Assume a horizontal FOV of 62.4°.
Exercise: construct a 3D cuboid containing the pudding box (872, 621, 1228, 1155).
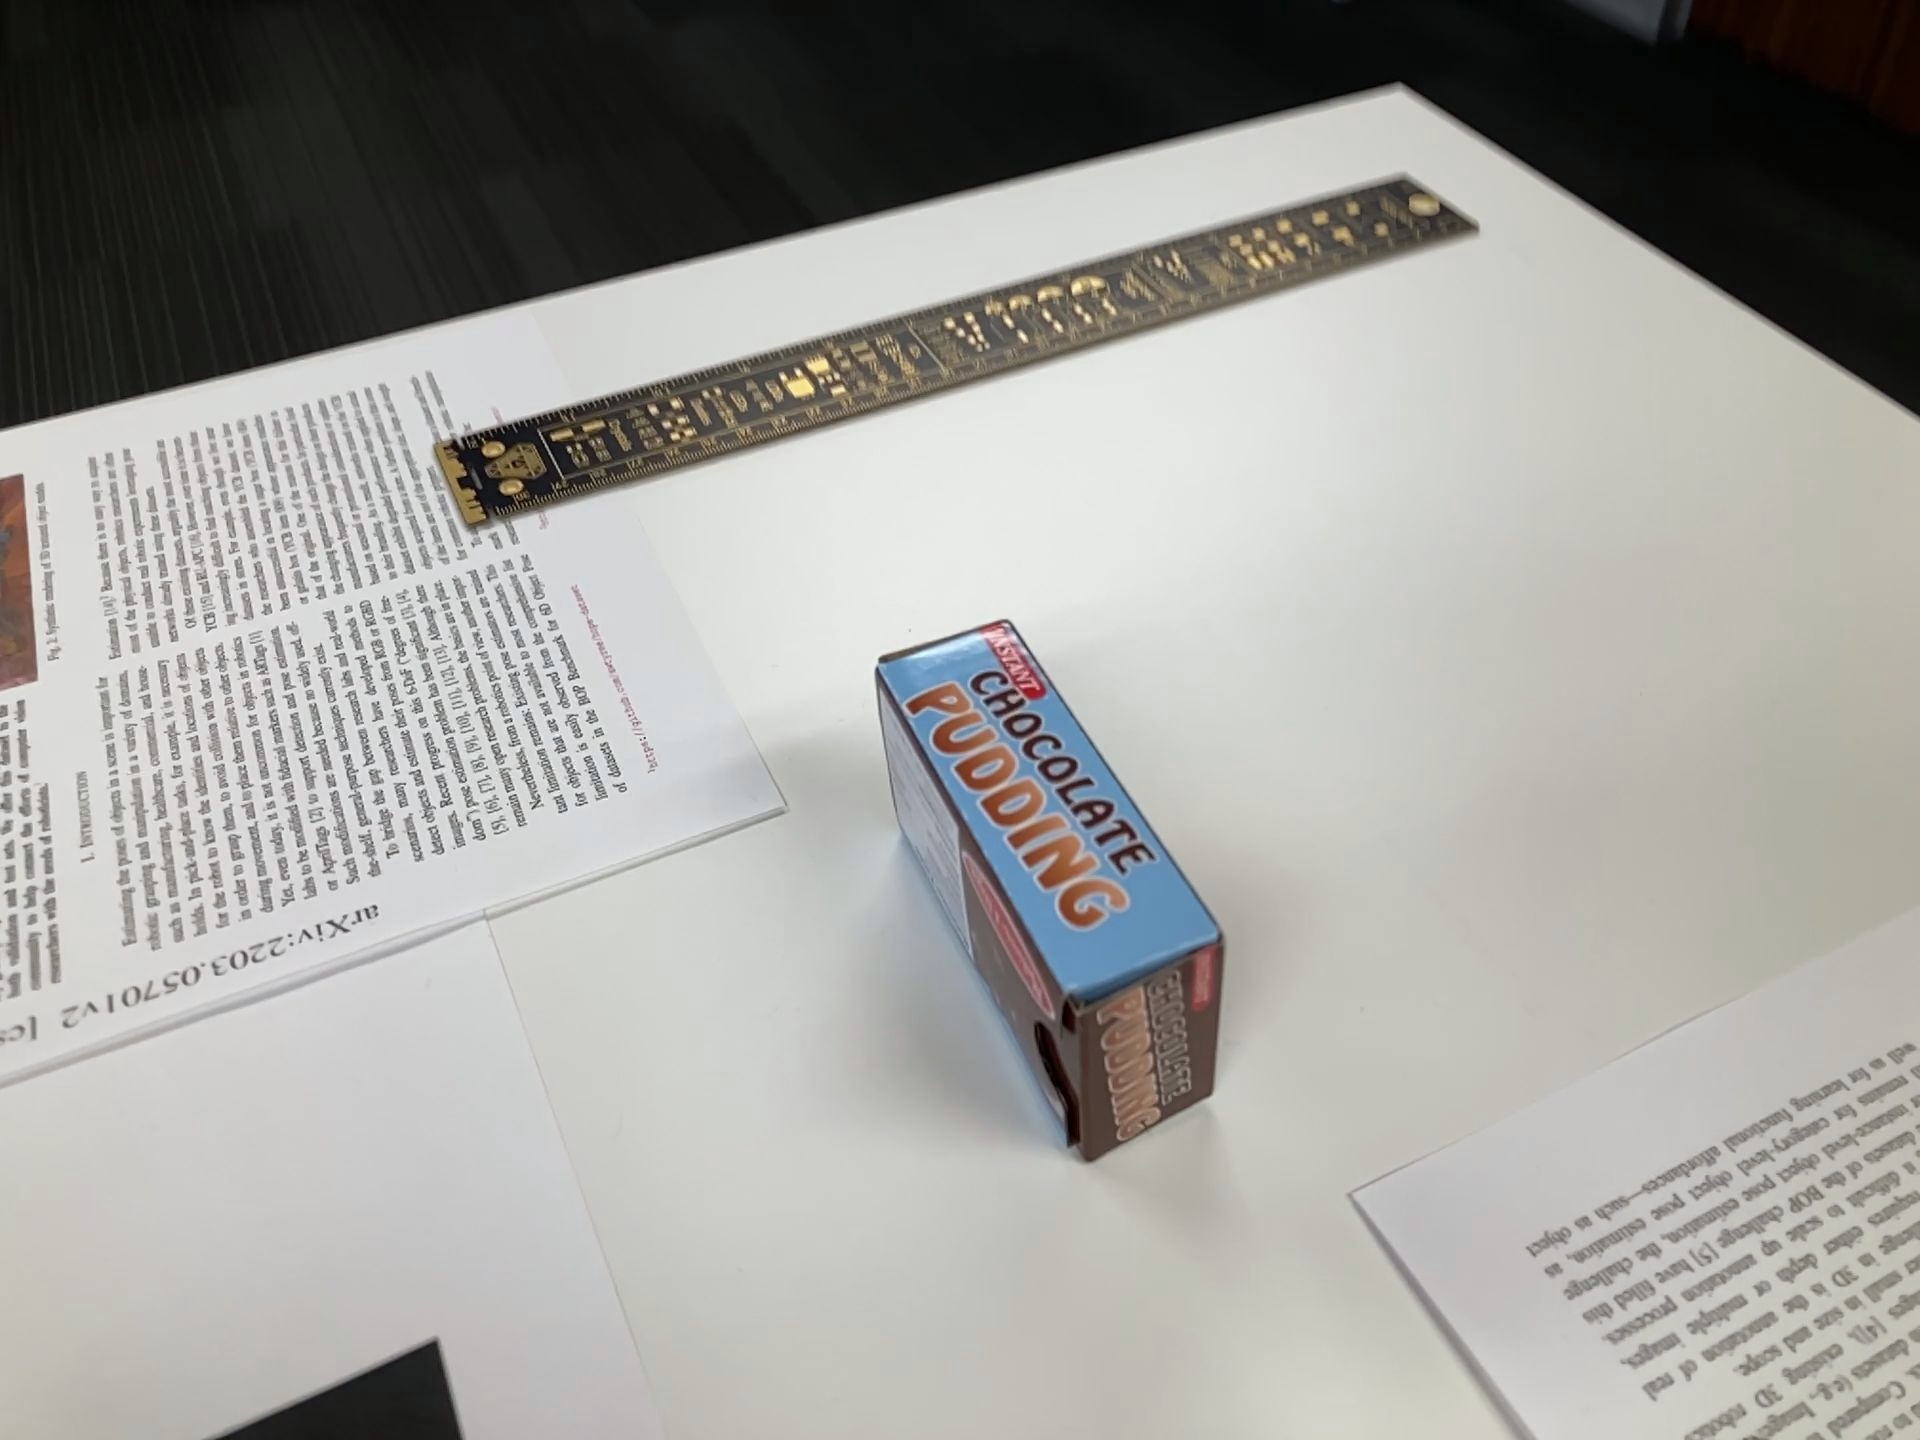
[{"bbox_3d":[0.014,0.028,0.285,0.030,0.049,0.083,-20,48,-14],"label":"pudding box"}]
